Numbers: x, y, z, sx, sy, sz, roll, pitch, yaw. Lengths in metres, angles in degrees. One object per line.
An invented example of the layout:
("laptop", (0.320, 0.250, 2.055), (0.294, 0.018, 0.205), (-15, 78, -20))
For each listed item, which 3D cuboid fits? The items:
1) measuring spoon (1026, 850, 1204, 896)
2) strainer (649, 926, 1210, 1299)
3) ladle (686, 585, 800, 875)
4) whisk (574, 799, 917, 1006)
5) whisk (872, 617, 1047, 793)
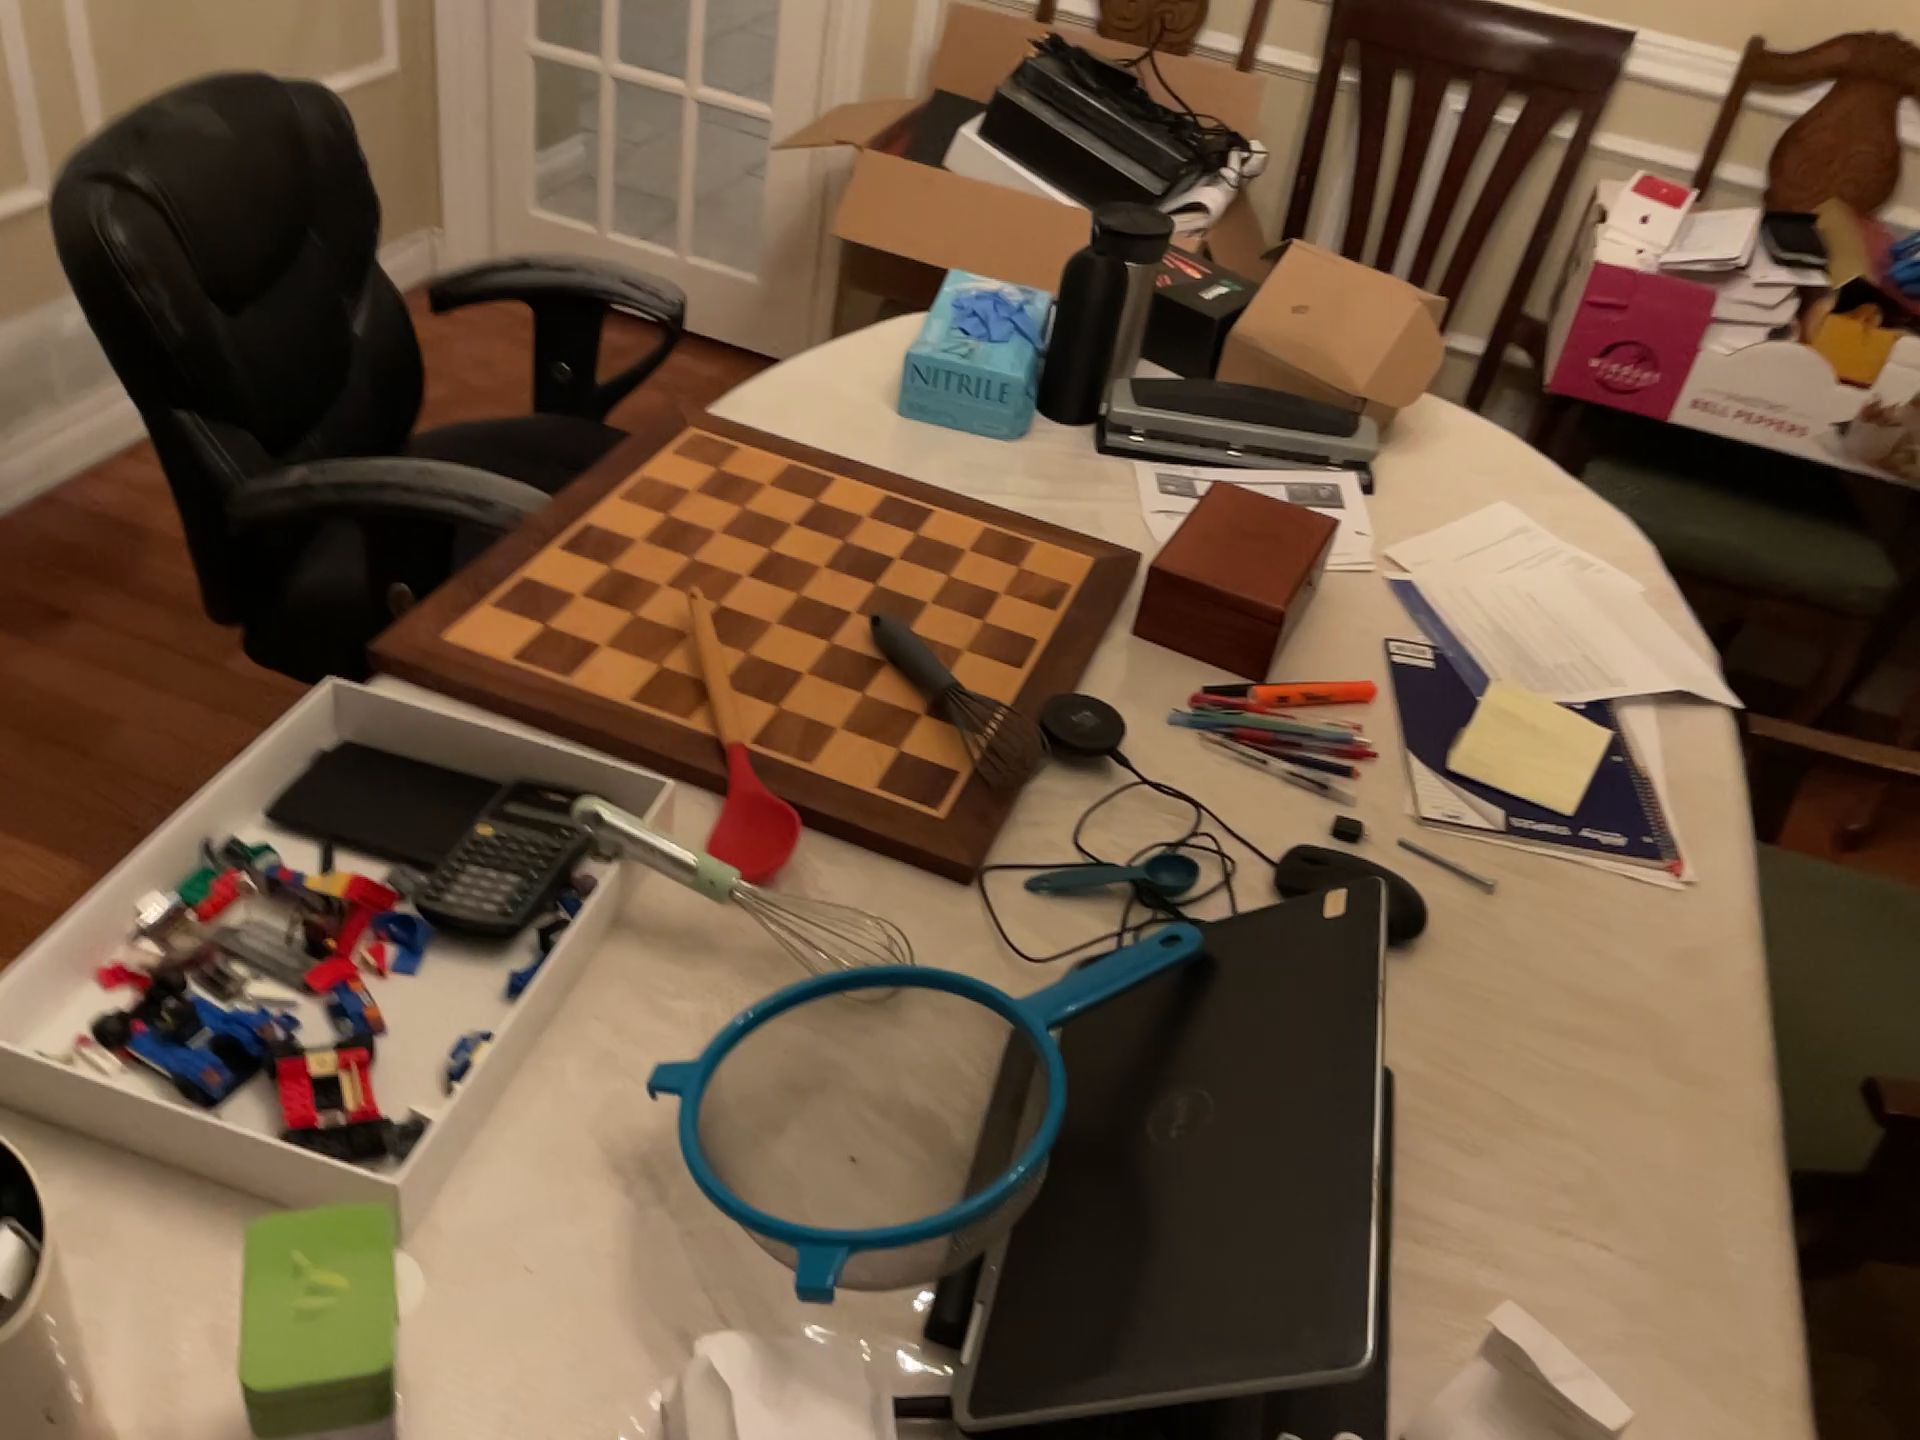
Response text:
("measuring spoon", (0.111, 0.118, 1.142), (0.128, 0.021, 0.042), (-7, 31, -4))
("strainer", (0.009, 0.216, 0.911), (0.340, 0.095, 0.211), (-20, 34, -28))
("ladle", (-0.175, 0.001, 1.185), (0.069, 0.031, 0.316), (-19, 47, -3))
("whisk", (-0.137, 0.114, 1.022), (0.246, 0.058, 0.059), (27, 7, -1))
("whisk", (-0.004, -0.018, 1.245), (0.055, 0.055, 0.239), (-1, 32, -38))
